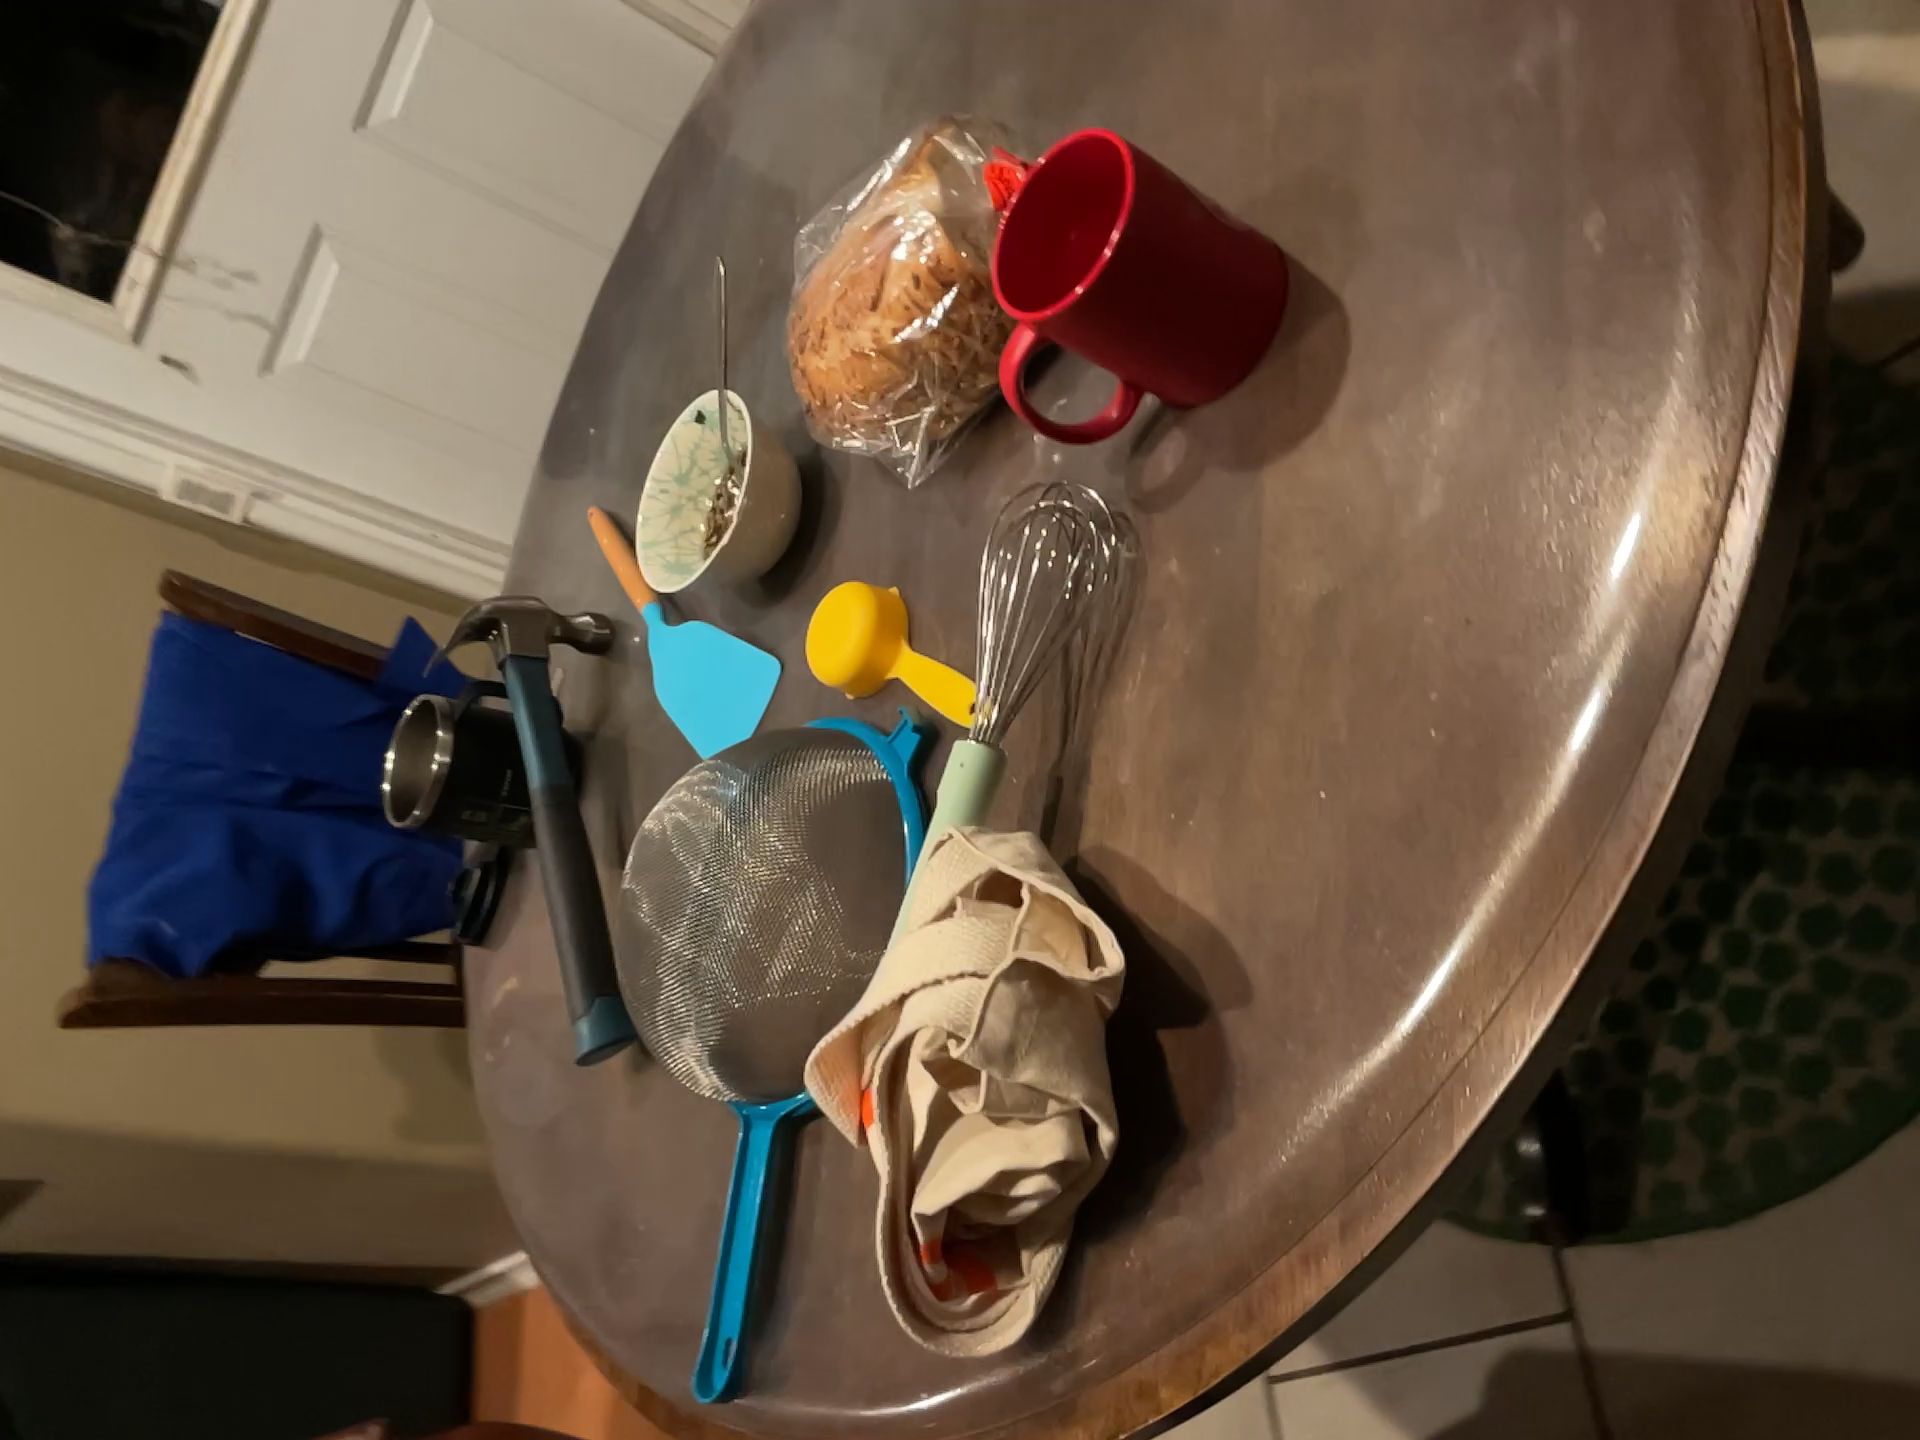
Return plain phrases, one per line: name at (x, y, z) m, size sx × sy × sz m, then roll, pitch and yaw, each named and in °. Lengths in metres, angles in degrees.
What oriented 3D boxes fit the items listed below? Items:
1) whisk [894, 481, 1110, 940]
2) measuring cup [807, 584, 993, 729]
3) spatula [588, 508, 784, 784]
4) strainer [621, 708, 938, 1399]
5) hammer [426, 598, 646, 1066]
whisk at (0.011, 0.006, 0.698) m, size 0.059 × 0.057 × 0.246 m, roll 12°, pitch 75°, yaw 23°
measuring cup at (-0.033, -0.029, 0.806) m, size 0.156 × 0.029 × 0.062 m, roll 33°, pitch 102°, yaw 54°
spatula at (-0.194, -0.072, 1.038) m, size 0.082 × 0.044 × 0.318 m, roll -61°, pitch 34°, yaw 15°
strainer at (-0.121, 0.150, 0.792) m, size 0.211 × 0.095 × 0.340 m, roll -15°, pitch 60°, yaw 49°
hammer at (-0.249, 0.059, 0.999) m, size 0.033 × 0.128 × 0.331 m, roll -44°, pitch 54°, yaw 35°
